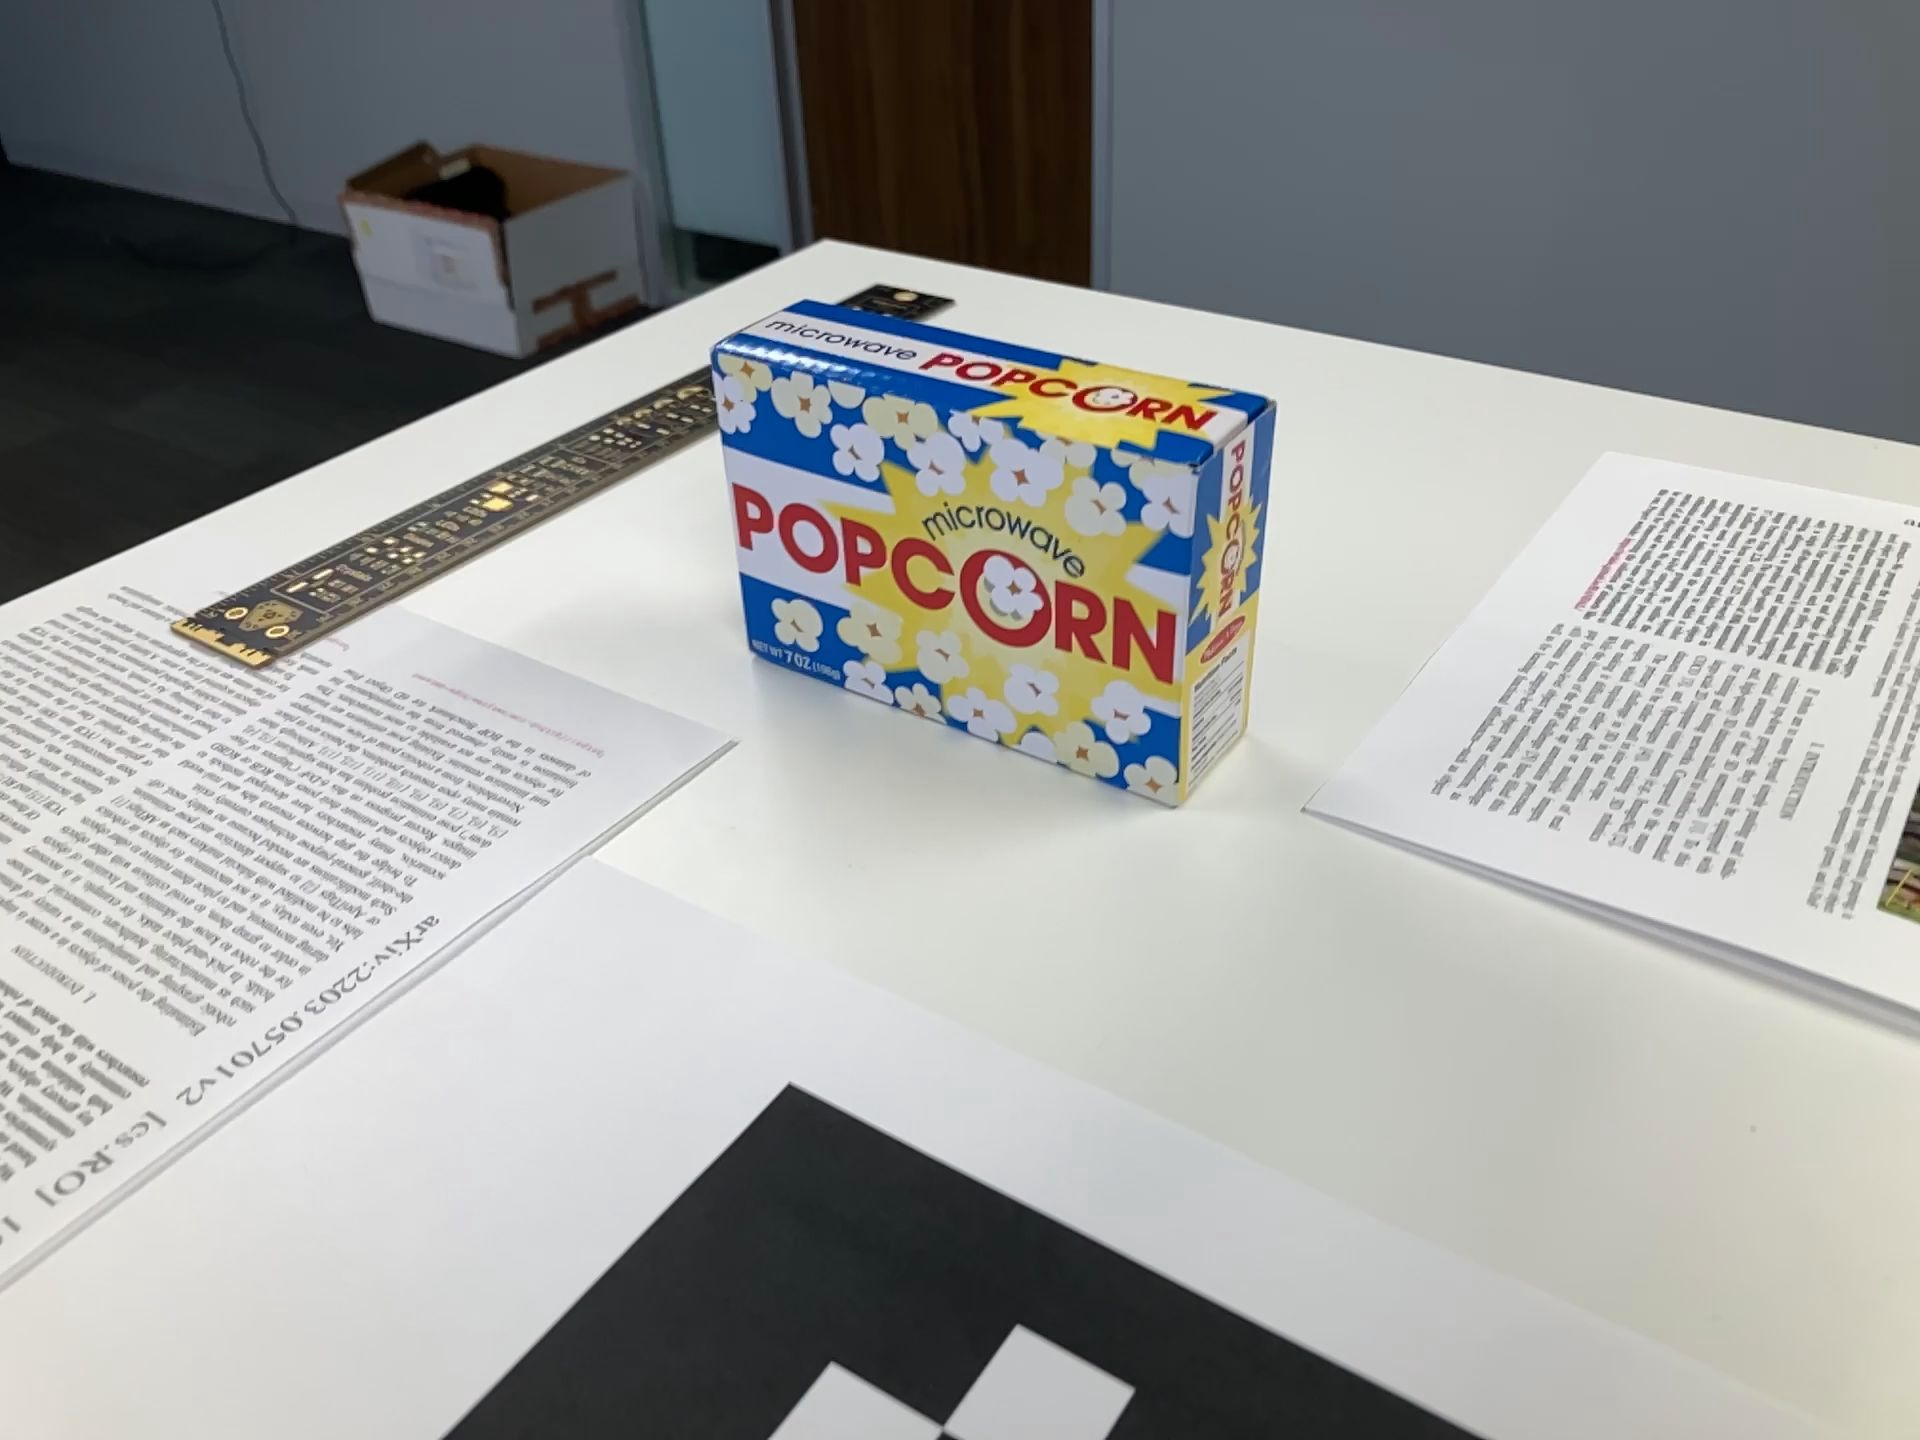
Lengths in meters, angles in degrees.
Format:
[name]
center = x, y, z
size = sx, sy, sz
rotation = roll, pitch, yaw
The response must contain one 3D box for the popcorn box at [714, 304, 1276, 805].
[popcorn box]
center = 0.005, -0.042, 0.370
size = 0.126, 0.085, 0.038
rotation = 20, 39, 29
